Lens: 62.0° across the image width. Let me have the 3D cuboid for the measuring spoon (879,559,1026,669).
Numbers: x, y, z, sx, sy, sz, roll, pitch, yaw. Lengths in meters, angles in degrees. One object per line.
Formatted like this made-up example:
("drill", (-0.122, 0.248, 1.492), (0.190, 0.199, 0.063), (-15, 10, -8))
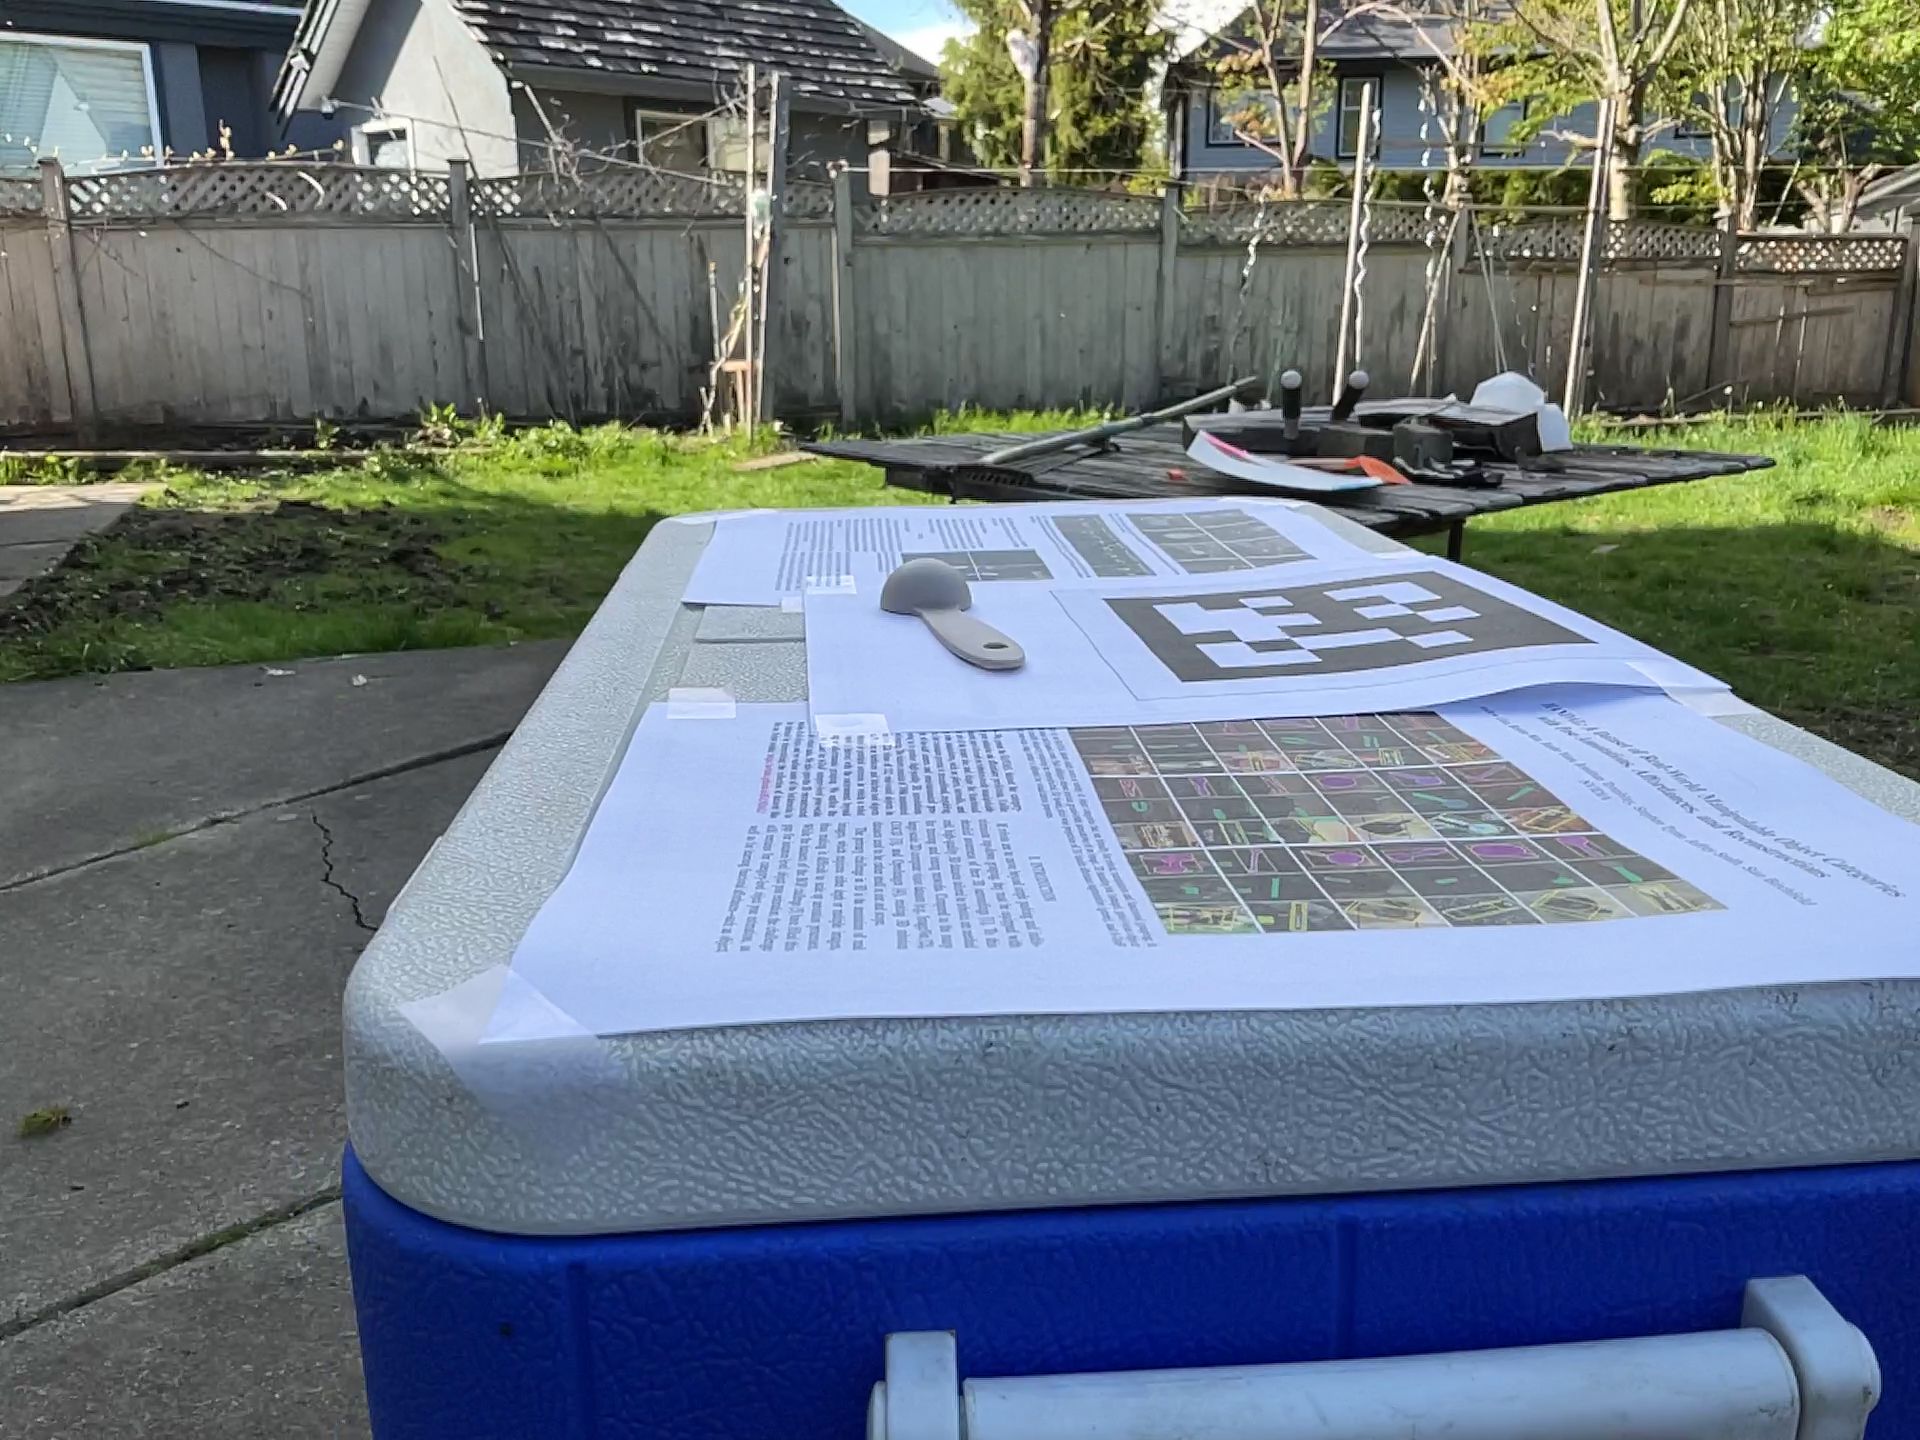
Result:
("measuring spoon", (-0.001, -0.038, 0.538), (0.034, 0.018, 0.124), (-5, 16, -14))
